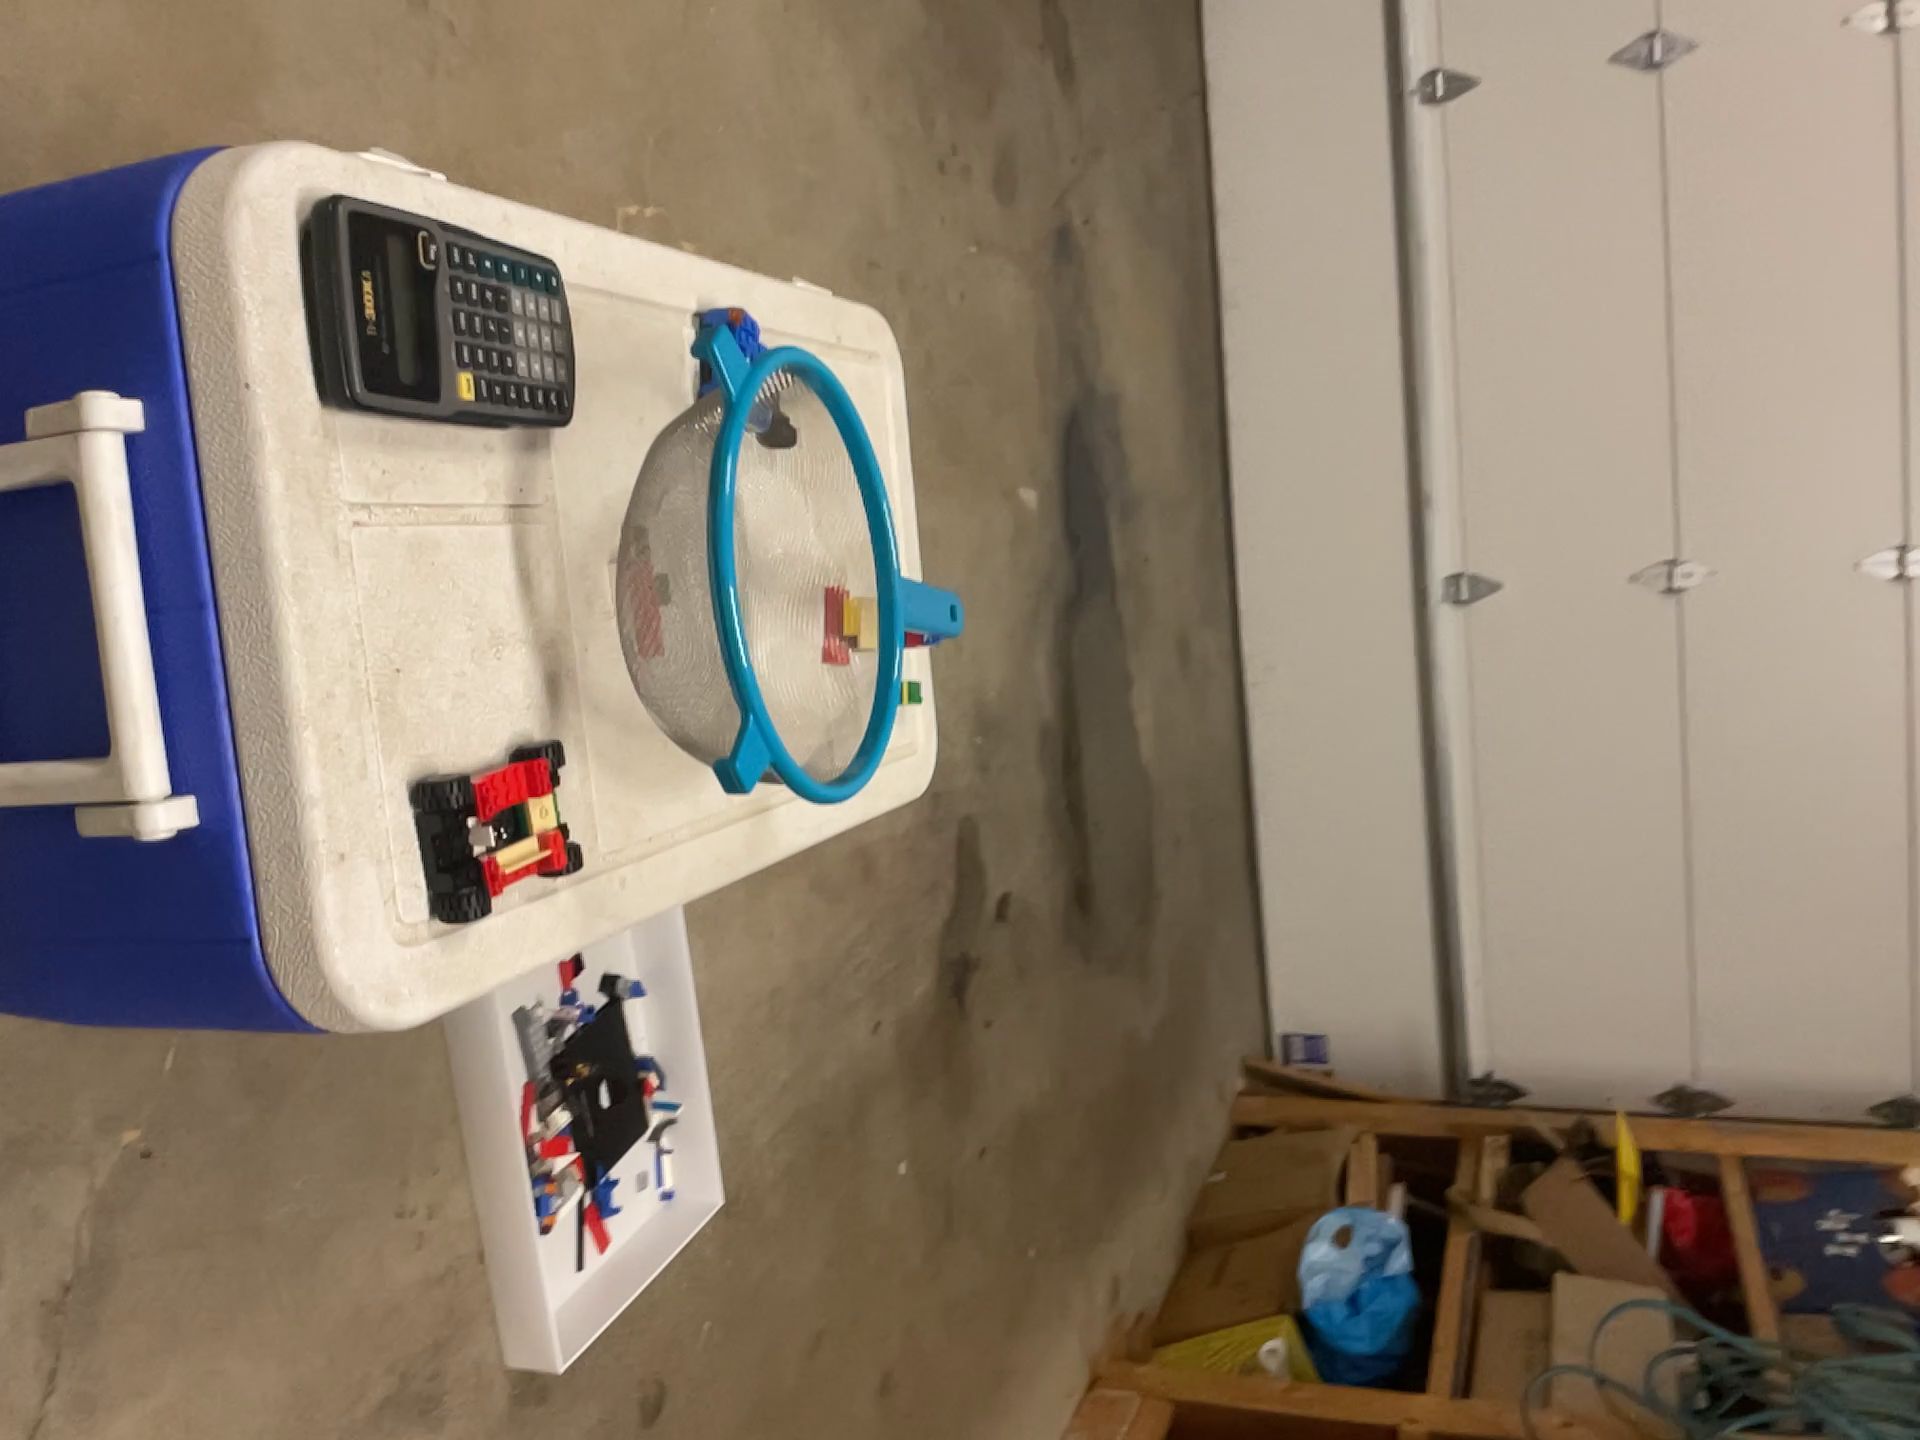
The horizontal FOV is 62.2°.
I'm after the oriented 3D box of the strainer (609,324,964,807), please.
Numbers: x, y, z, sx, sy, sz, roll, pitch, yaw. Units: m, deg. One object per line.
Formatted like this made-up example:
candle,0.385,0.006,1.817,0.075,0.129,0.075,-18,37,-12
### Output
strainer,-0.085,-0.062,0.807,0.340,0.095,0.211,3,84,-74
